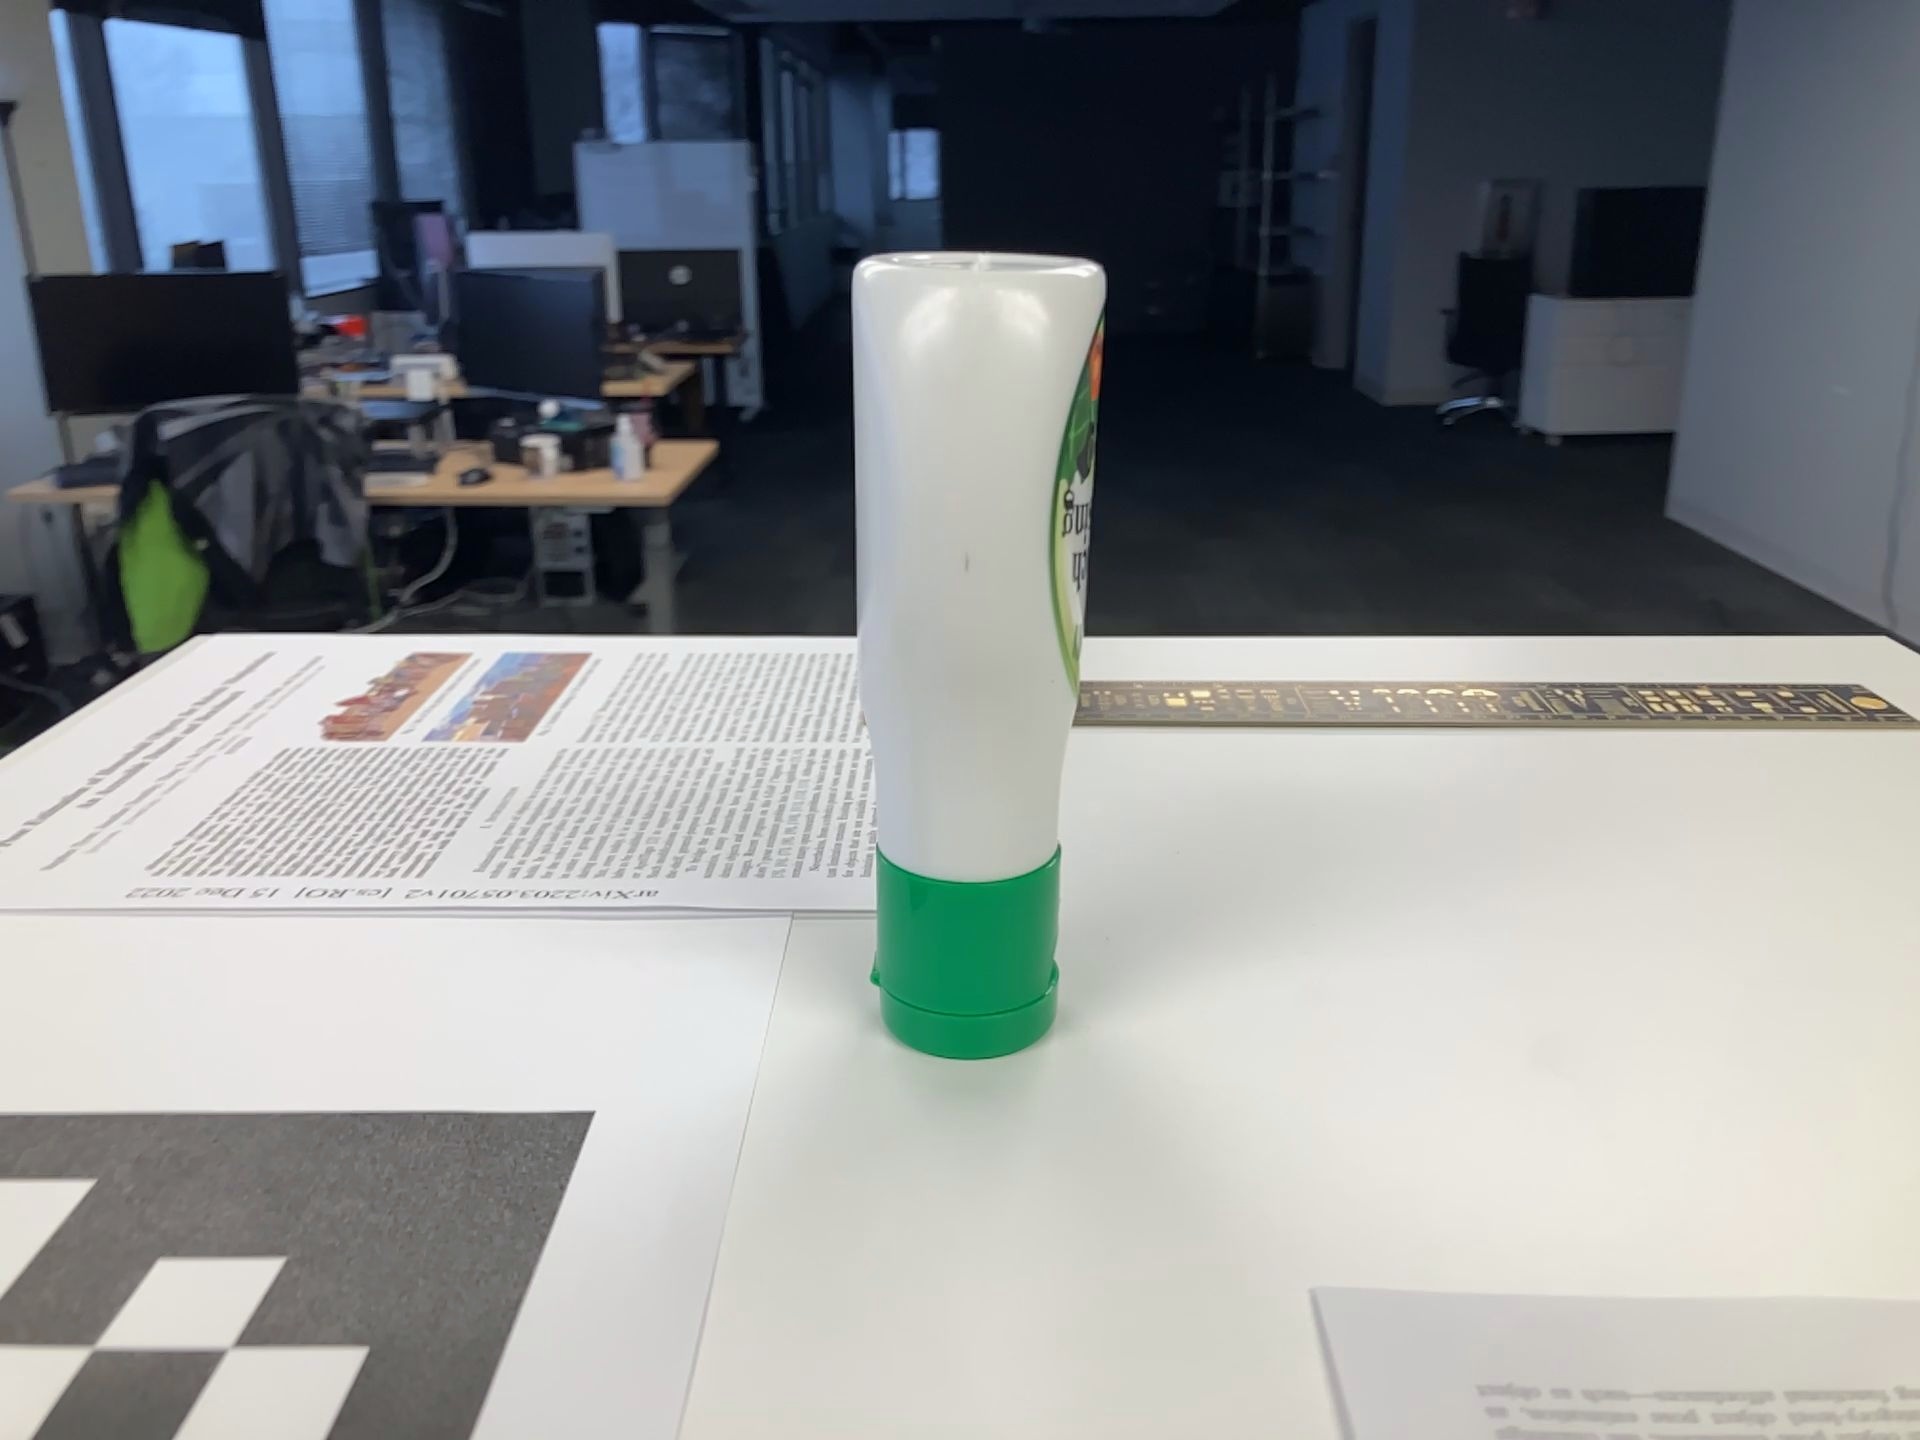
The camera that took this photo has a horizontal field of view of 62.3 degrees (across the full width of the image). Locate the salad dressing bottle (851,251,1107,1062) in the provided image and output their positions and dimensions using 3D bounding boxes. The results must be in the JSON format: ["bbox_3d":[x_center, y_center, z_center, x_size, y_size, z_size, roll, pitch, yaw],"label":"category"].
[{"bbox_3d":[0.002,-0.010,0.296,0.044,0.147,0.064,1,19,2],"label":"salad dressing bottle"}]
